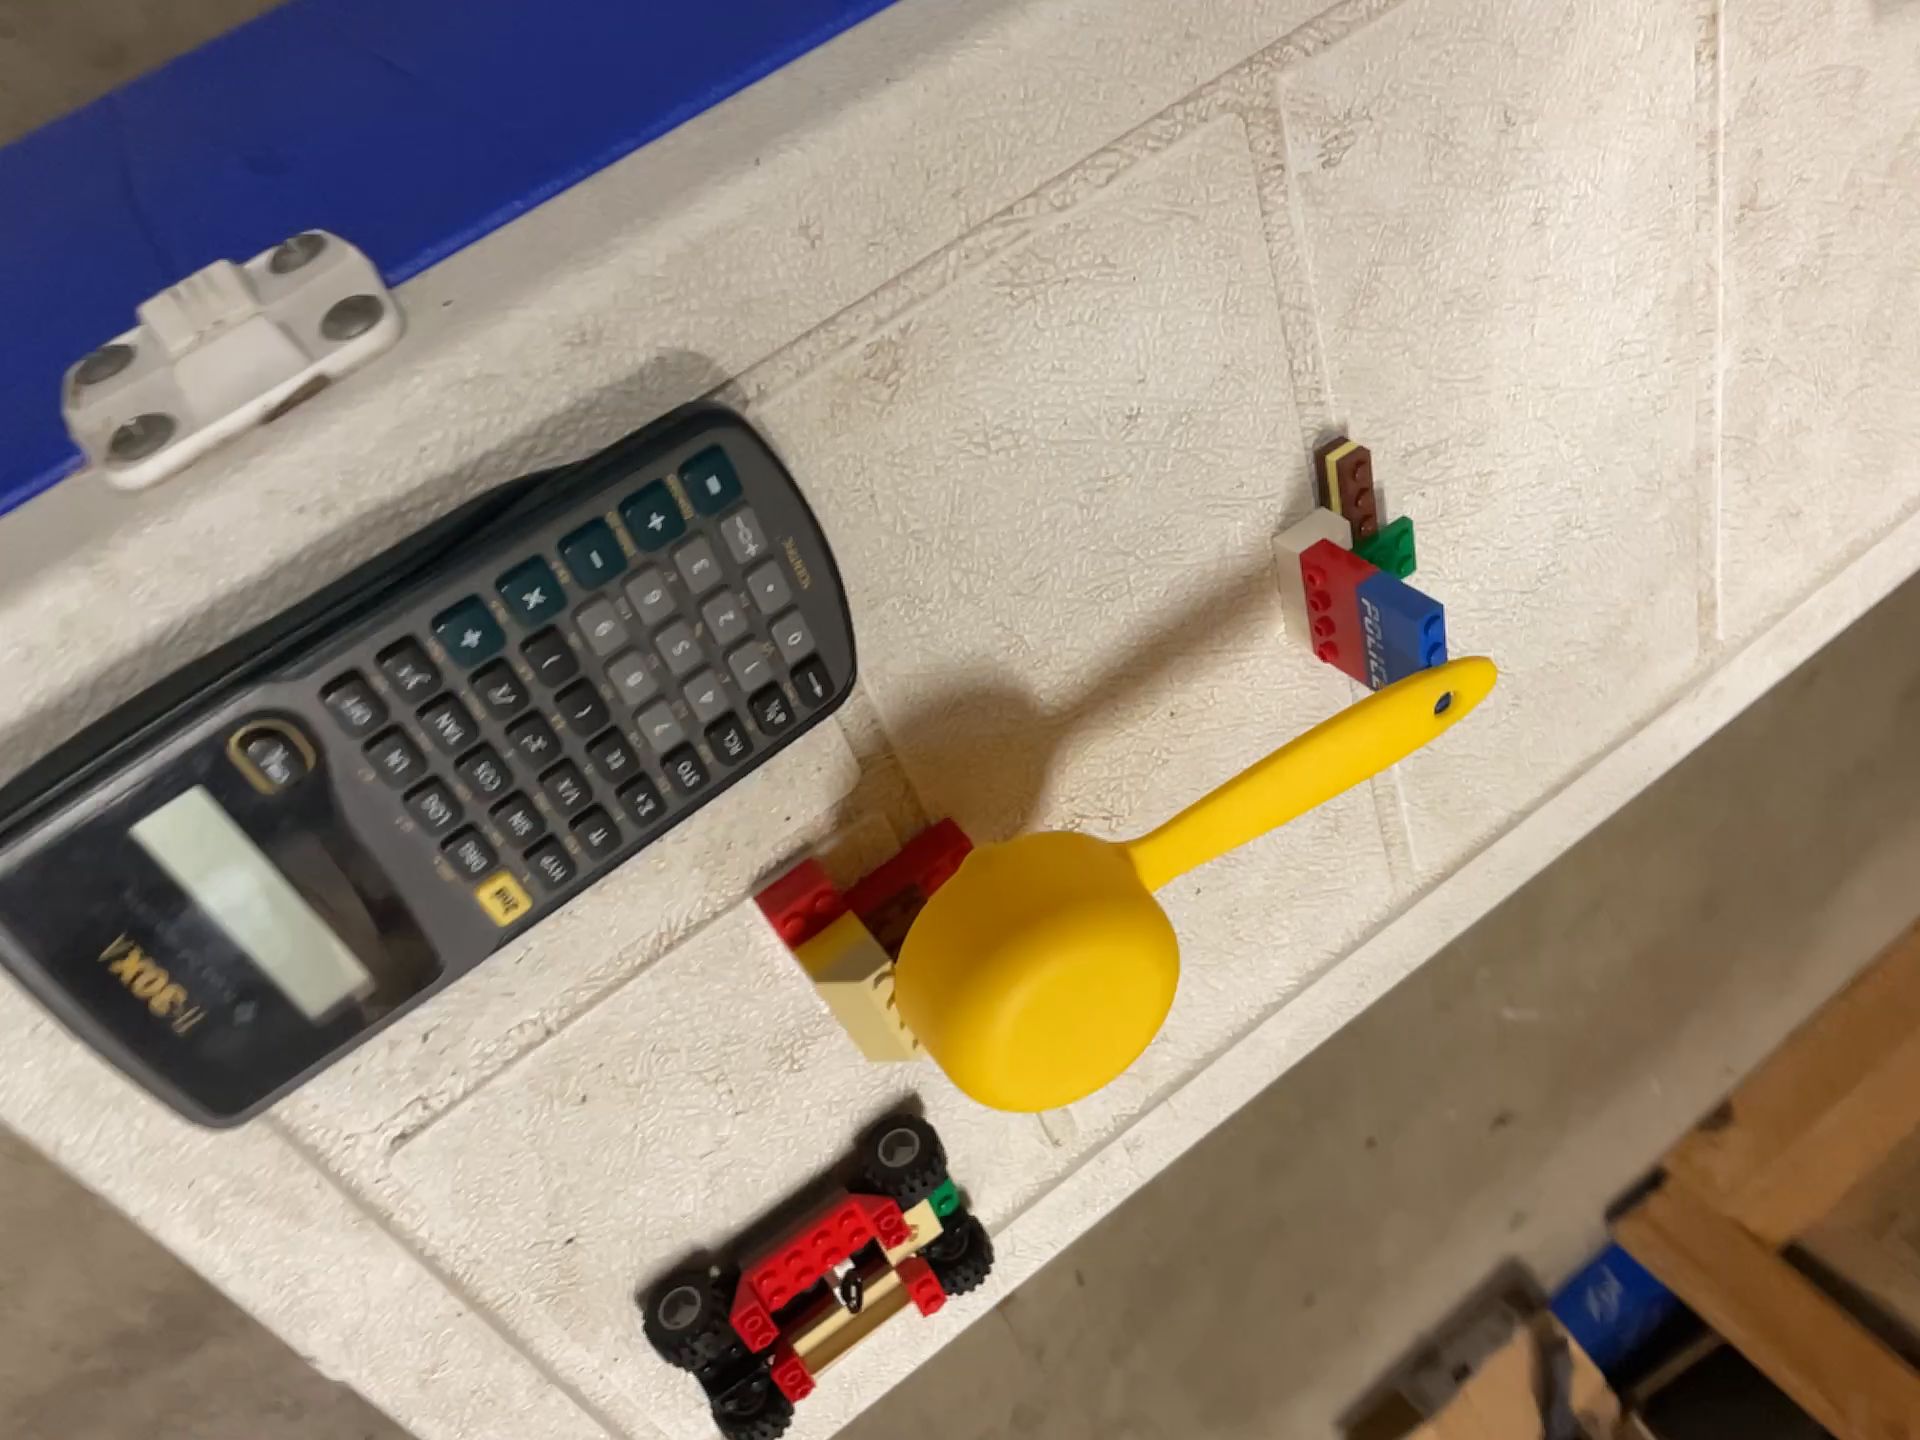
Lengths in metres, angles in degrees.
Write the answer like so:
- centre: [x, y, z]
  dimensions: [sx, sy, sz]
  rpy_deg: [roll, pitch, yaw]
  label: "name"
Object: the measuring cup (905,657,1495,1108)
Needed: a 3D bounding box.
- centre: [0.061, 0.032, 0.351]
  dimensions: [0.156, 0.029, 0.062]
  rpy_deg: [-30, 132, -9]
  label: "measuring cup"
